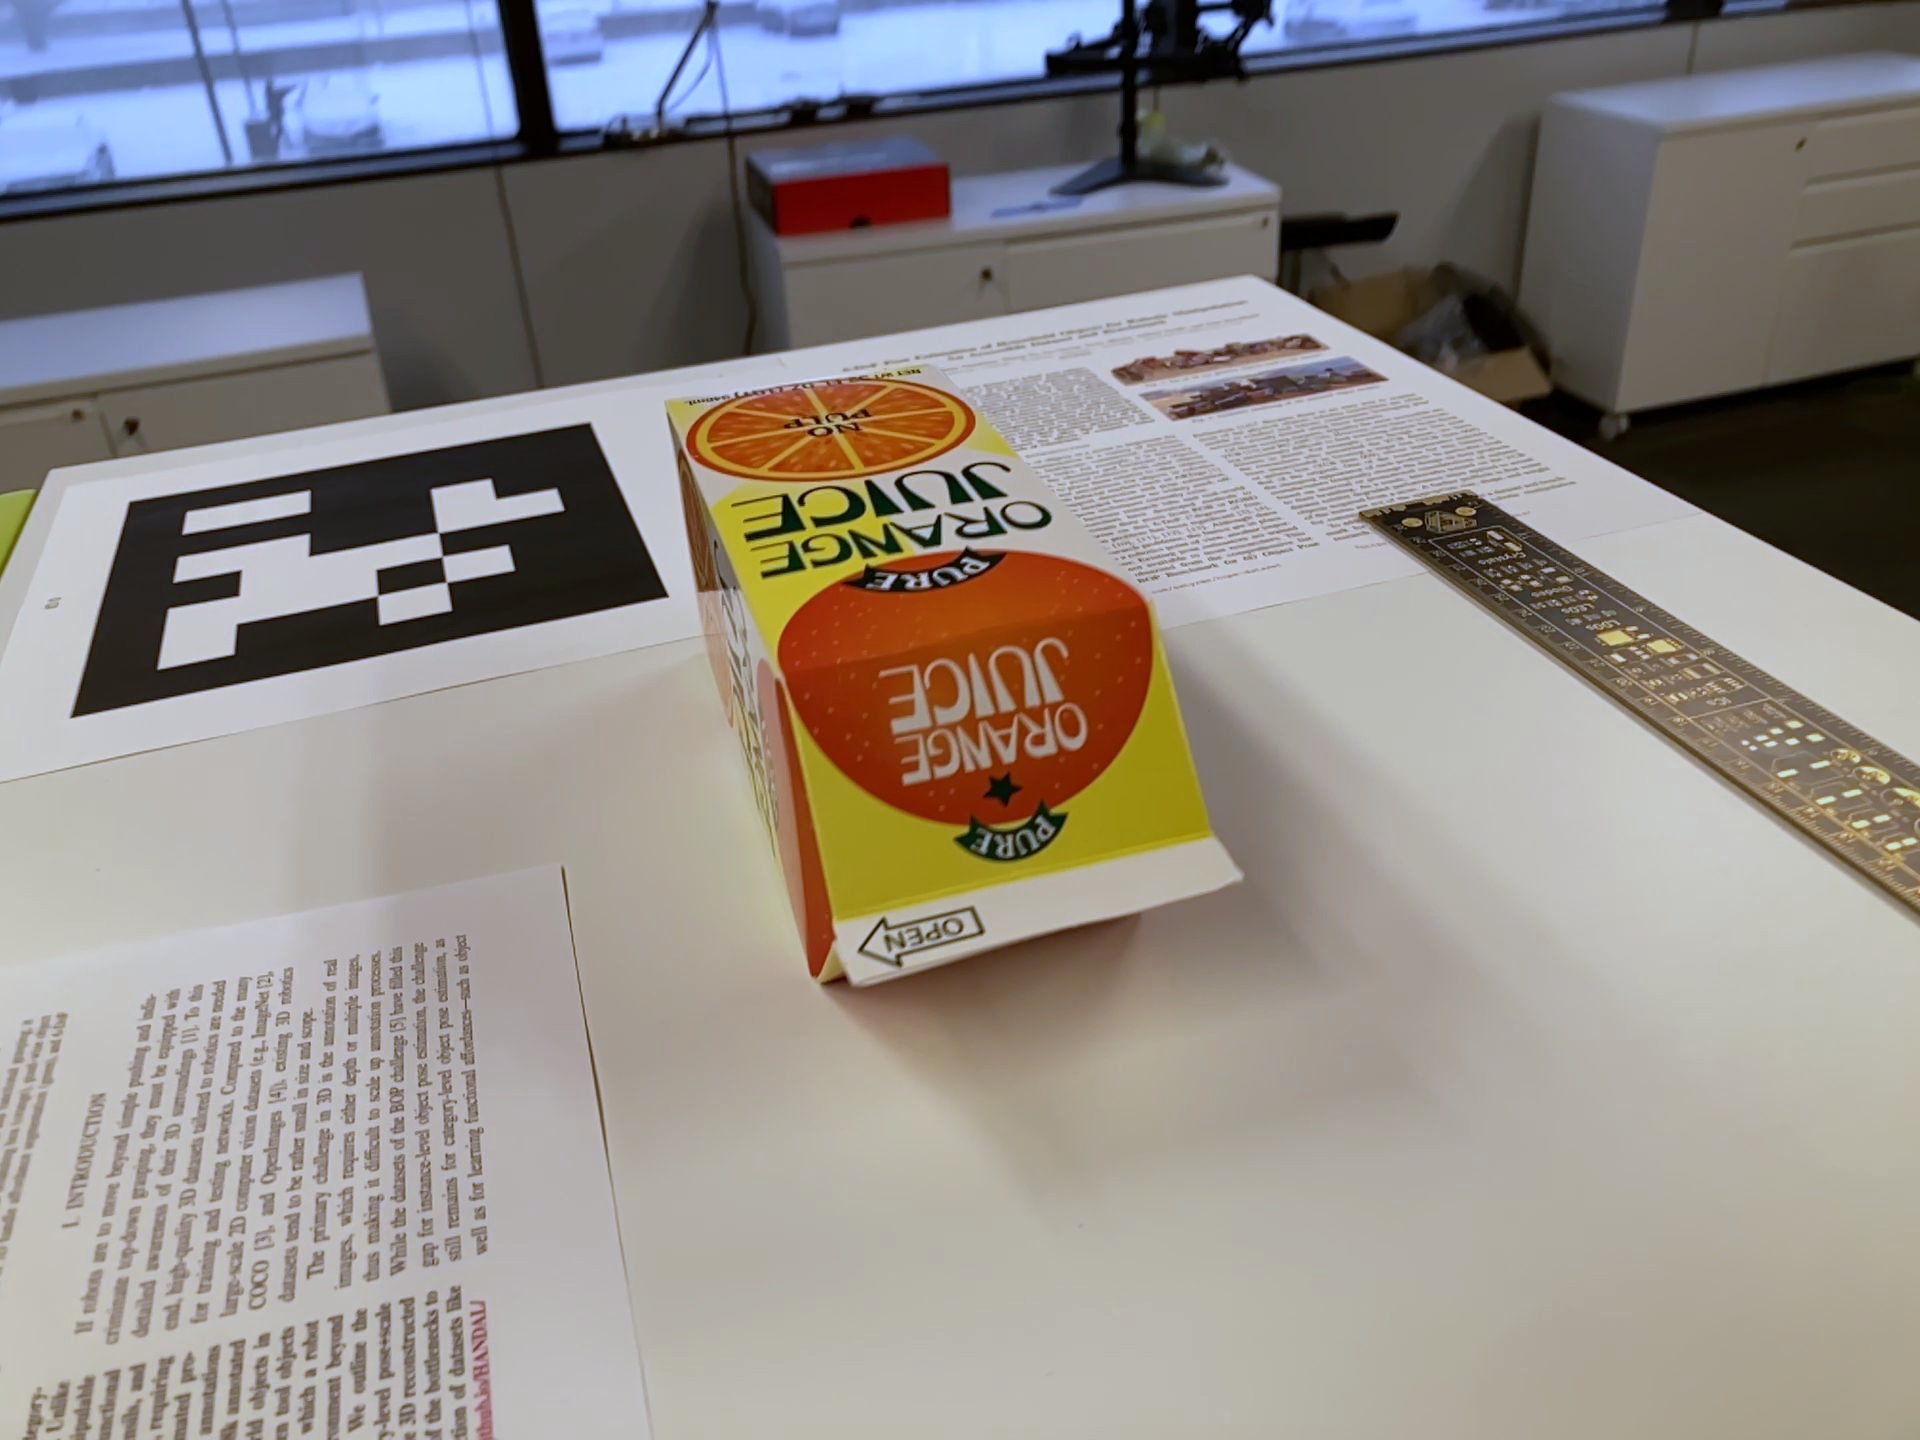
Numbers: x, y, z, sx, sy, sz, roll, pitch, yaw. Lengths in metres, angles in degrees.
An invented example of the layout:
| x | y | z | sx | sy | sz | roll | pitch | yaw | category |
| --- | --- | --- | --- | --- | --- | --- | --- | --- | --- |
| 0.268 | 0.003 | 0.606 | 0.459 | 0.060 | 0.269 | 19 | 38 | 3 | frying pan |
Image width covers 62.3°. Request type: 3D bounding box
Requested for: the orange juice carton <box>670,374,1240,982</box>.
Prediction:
| x | y | z | sx | sy | sz | roll | pitch | yaw | category |
| --- | --- | --- | --- | --- | --- | --- | --- | --- | --- |
| -0.011 | -0.010 | 0.346 | 0.072 | 0.073 | 0.192 | -11 | 31 | -13 | orange juice carton |
